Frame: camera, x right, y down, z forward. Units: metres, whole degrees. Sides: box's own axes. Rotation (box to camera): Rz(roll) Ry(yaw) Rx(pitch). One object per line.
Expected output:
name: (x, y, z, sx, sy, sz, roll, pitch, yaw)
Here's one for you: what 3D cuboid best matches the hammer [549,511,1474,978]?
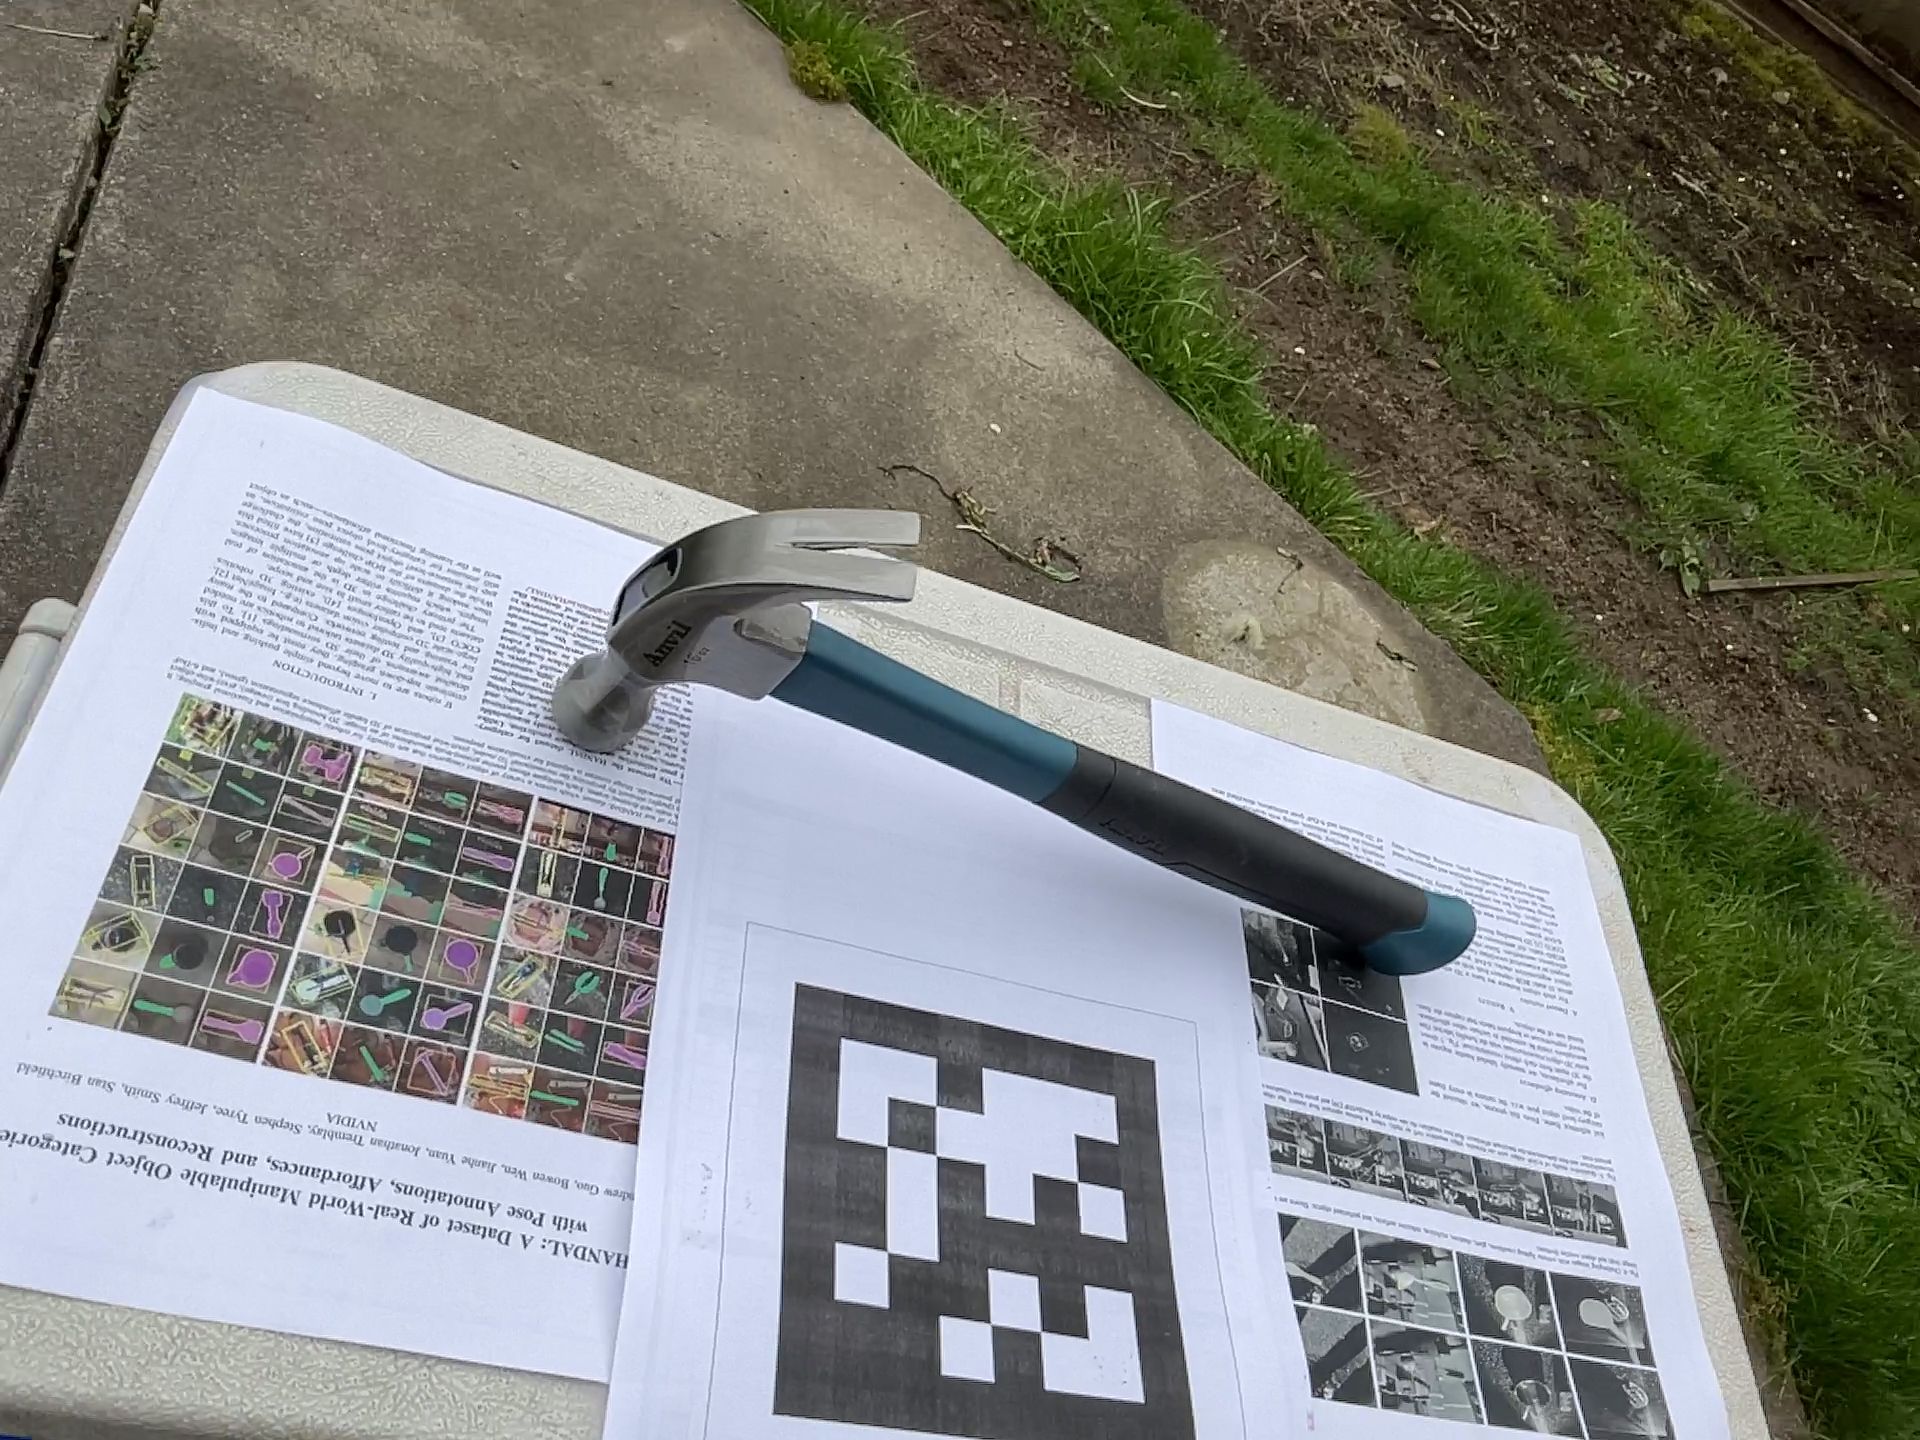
hammer: (0.041, 0.023, 0.532, 0.331, 0.128, 0.033, 24, 49, -25)
